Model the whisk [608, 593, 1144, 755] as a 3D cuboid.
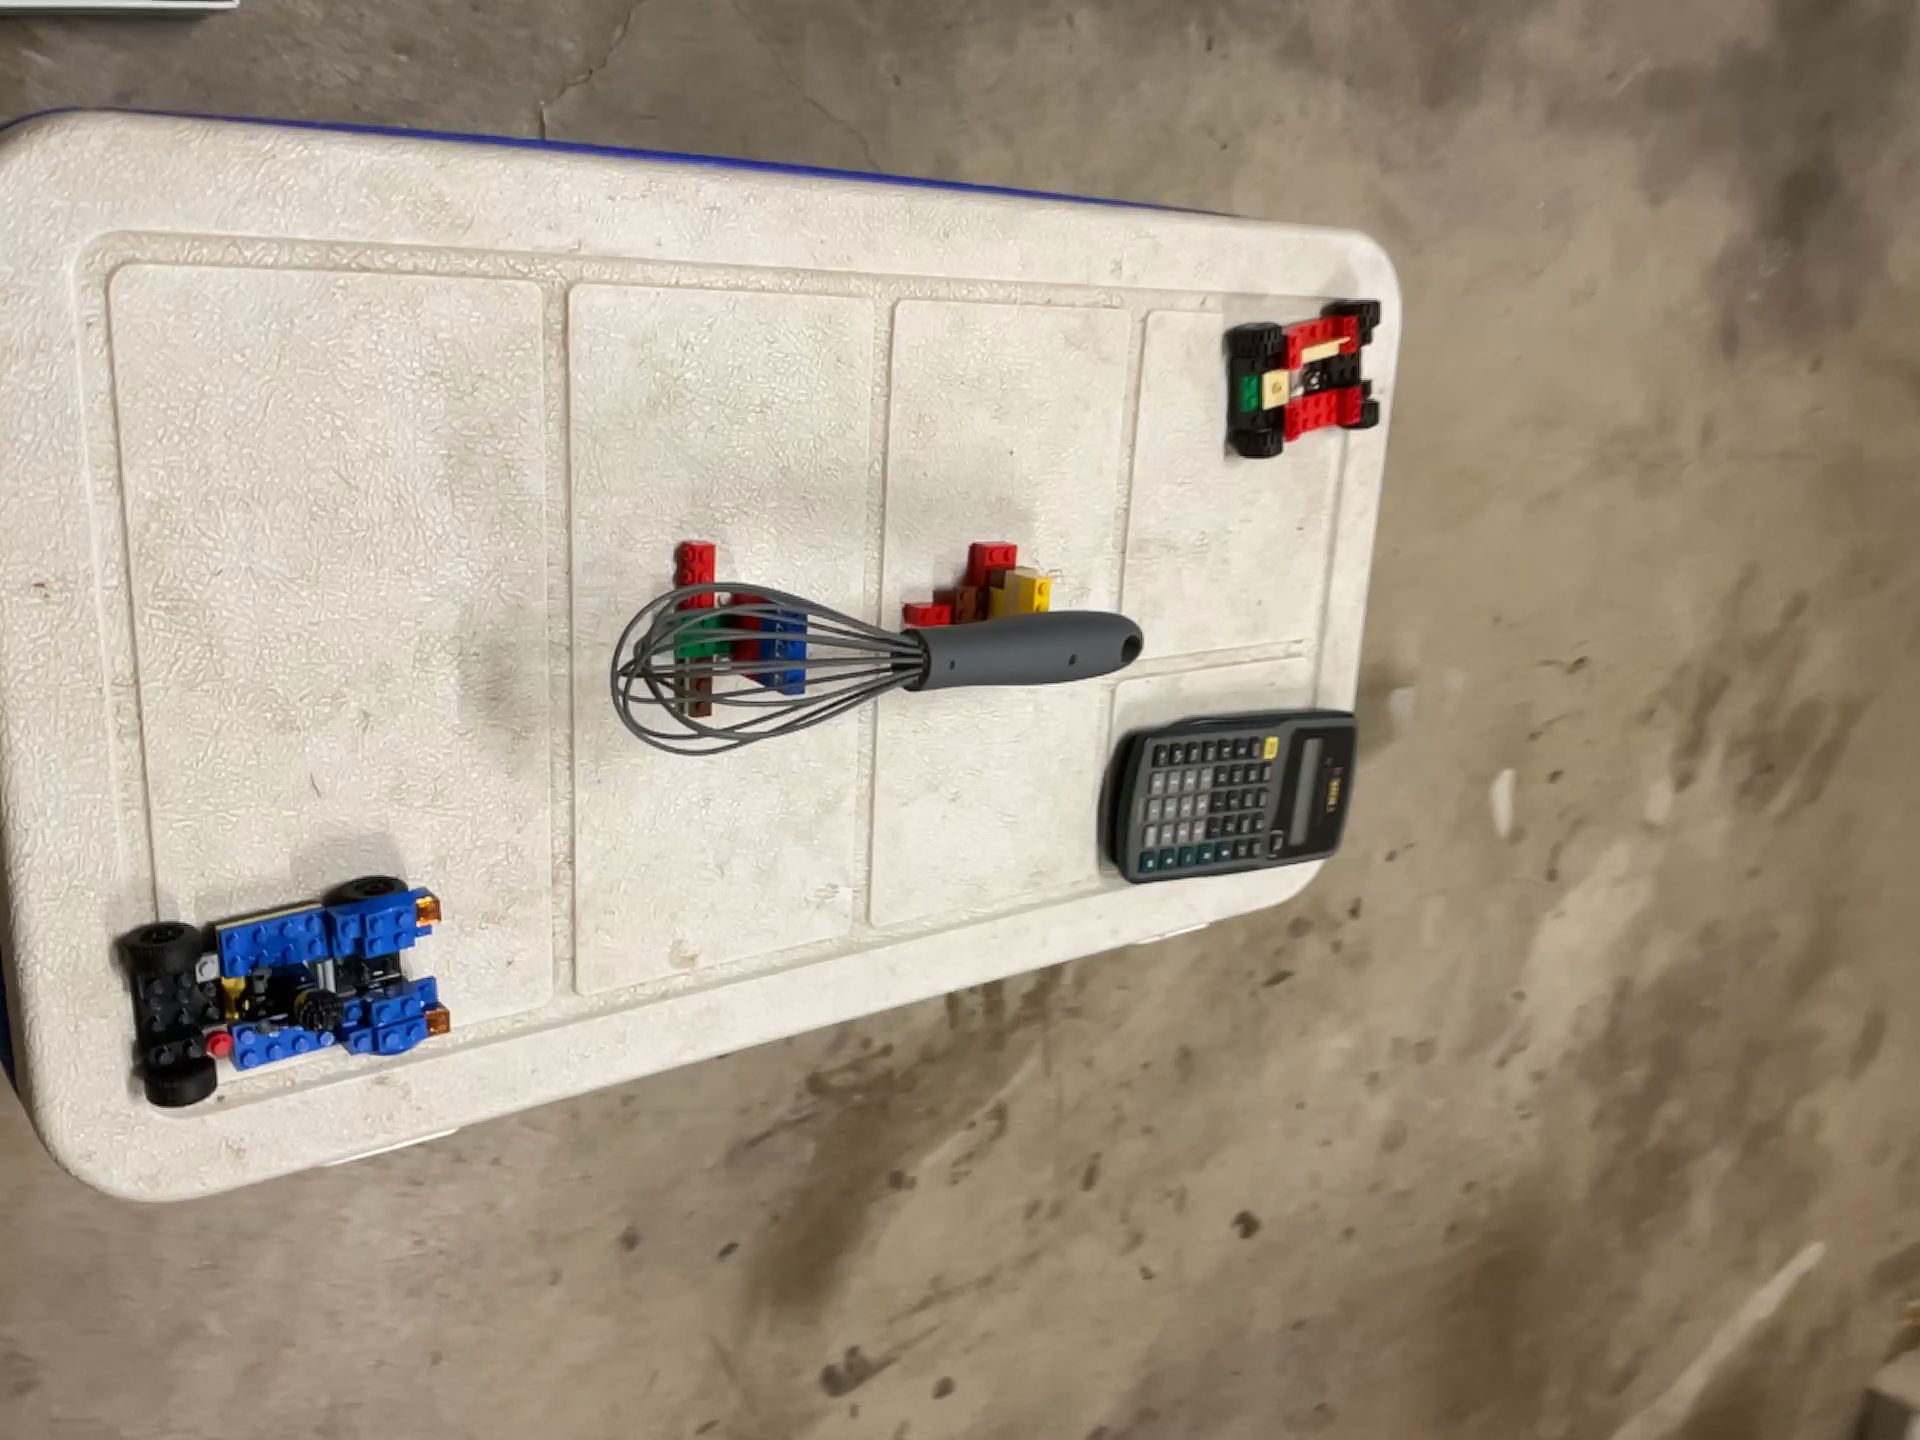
[{"bbox_3d":[-0.018,-0.020,0.567,0.239,0.055,0.055,-6,110,-42],"label":"whisk"}]
